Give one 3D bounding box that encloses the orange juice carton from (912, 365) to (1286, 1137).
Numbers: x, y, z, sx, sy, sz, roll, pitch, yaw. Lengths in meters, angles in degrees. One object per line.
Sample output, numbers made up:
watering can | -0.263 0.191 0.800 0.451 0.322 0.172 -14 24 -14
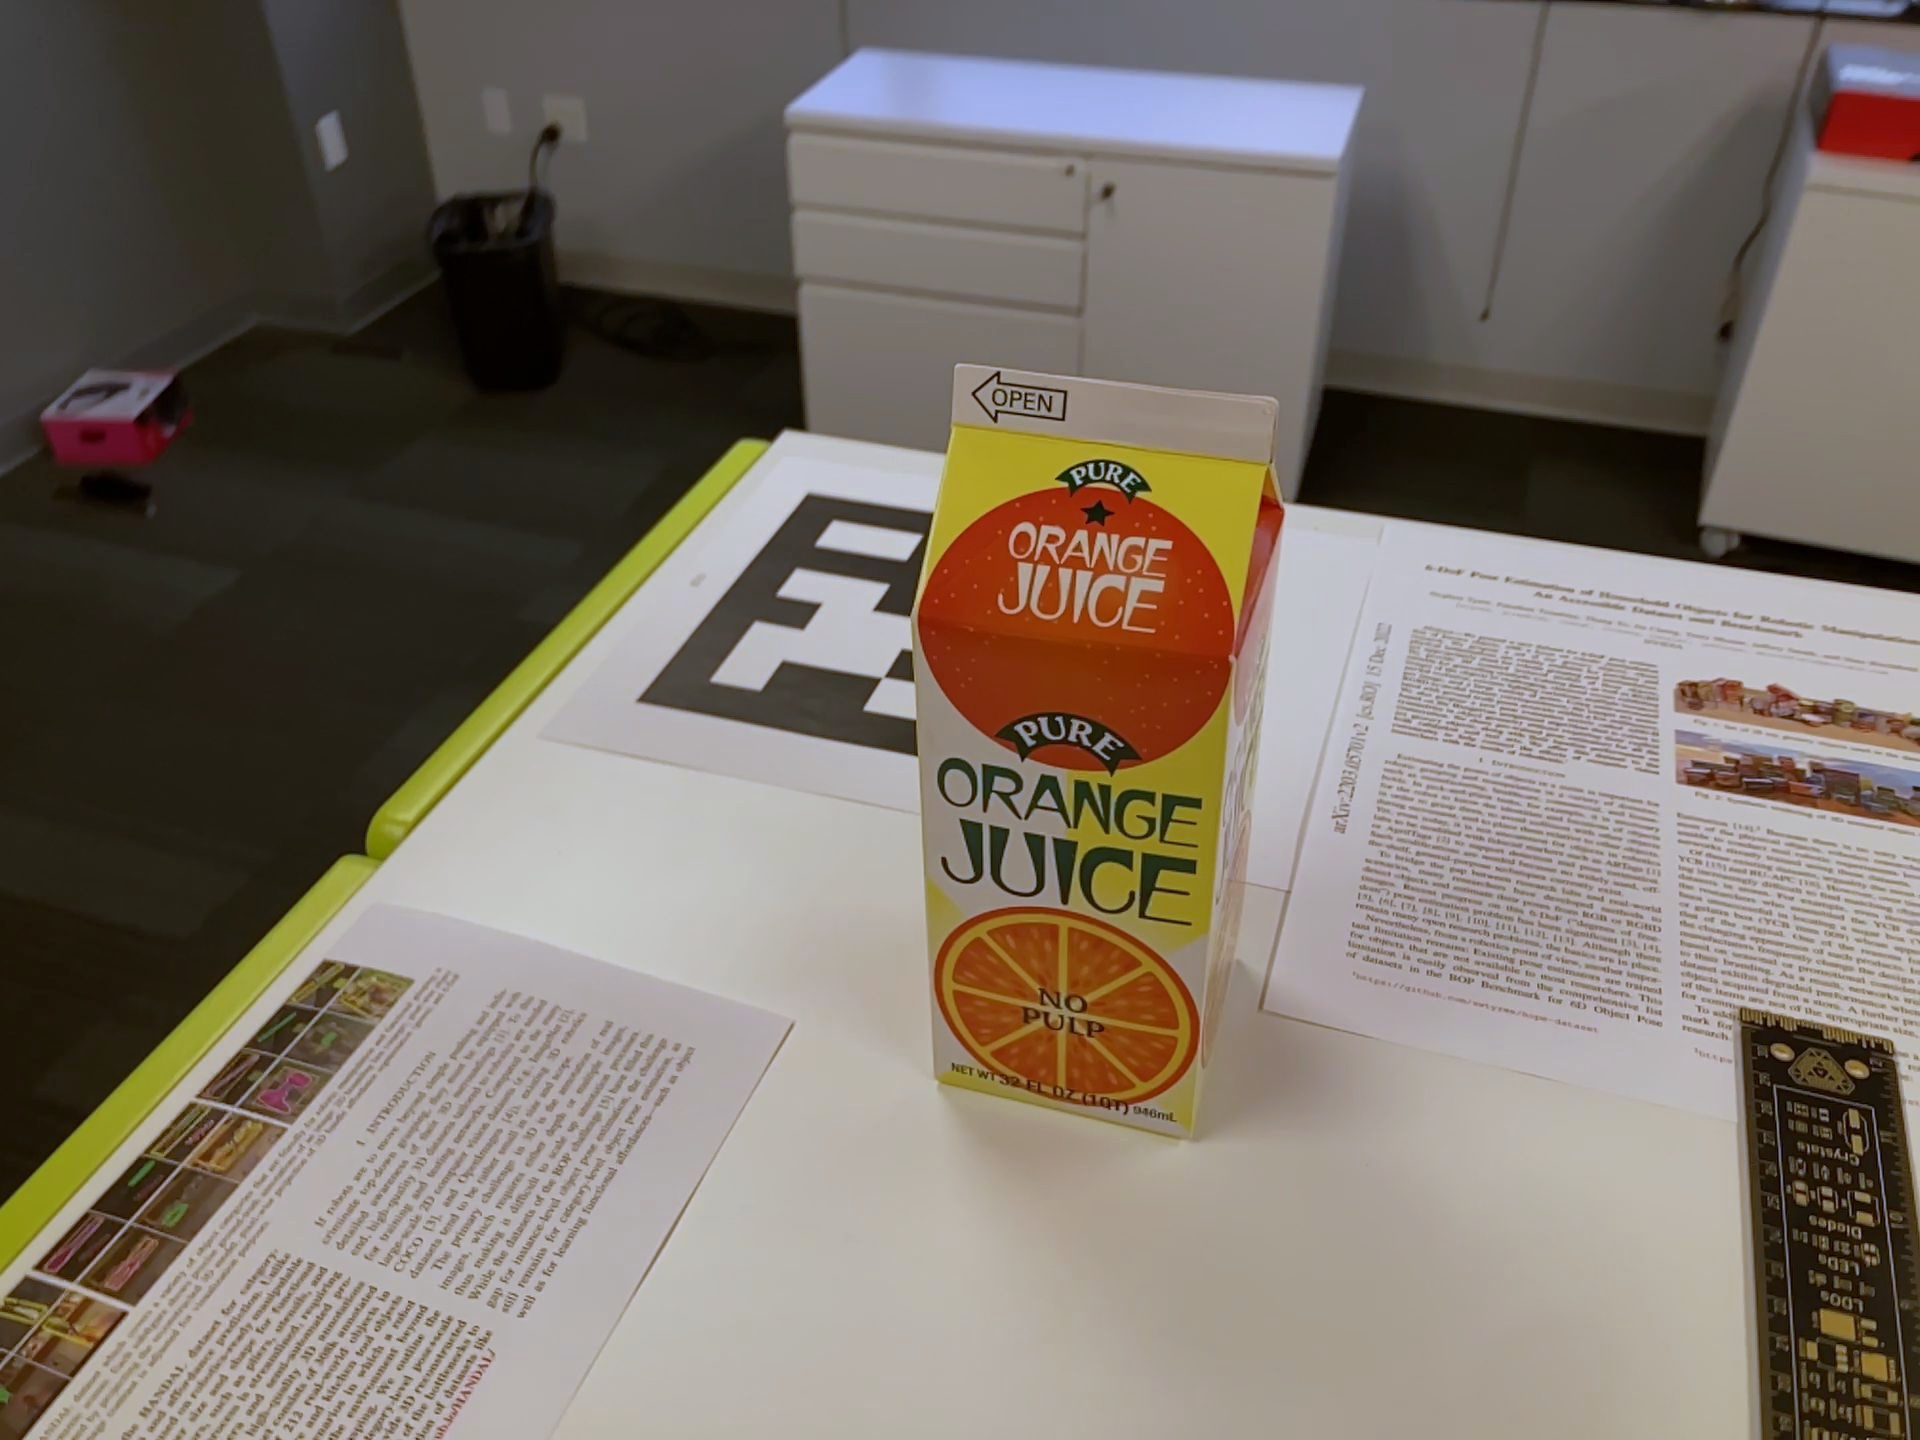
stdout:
orange juice carton | 0.035 0.006 0.392 0.072 0.192 0.073 9 37 15
